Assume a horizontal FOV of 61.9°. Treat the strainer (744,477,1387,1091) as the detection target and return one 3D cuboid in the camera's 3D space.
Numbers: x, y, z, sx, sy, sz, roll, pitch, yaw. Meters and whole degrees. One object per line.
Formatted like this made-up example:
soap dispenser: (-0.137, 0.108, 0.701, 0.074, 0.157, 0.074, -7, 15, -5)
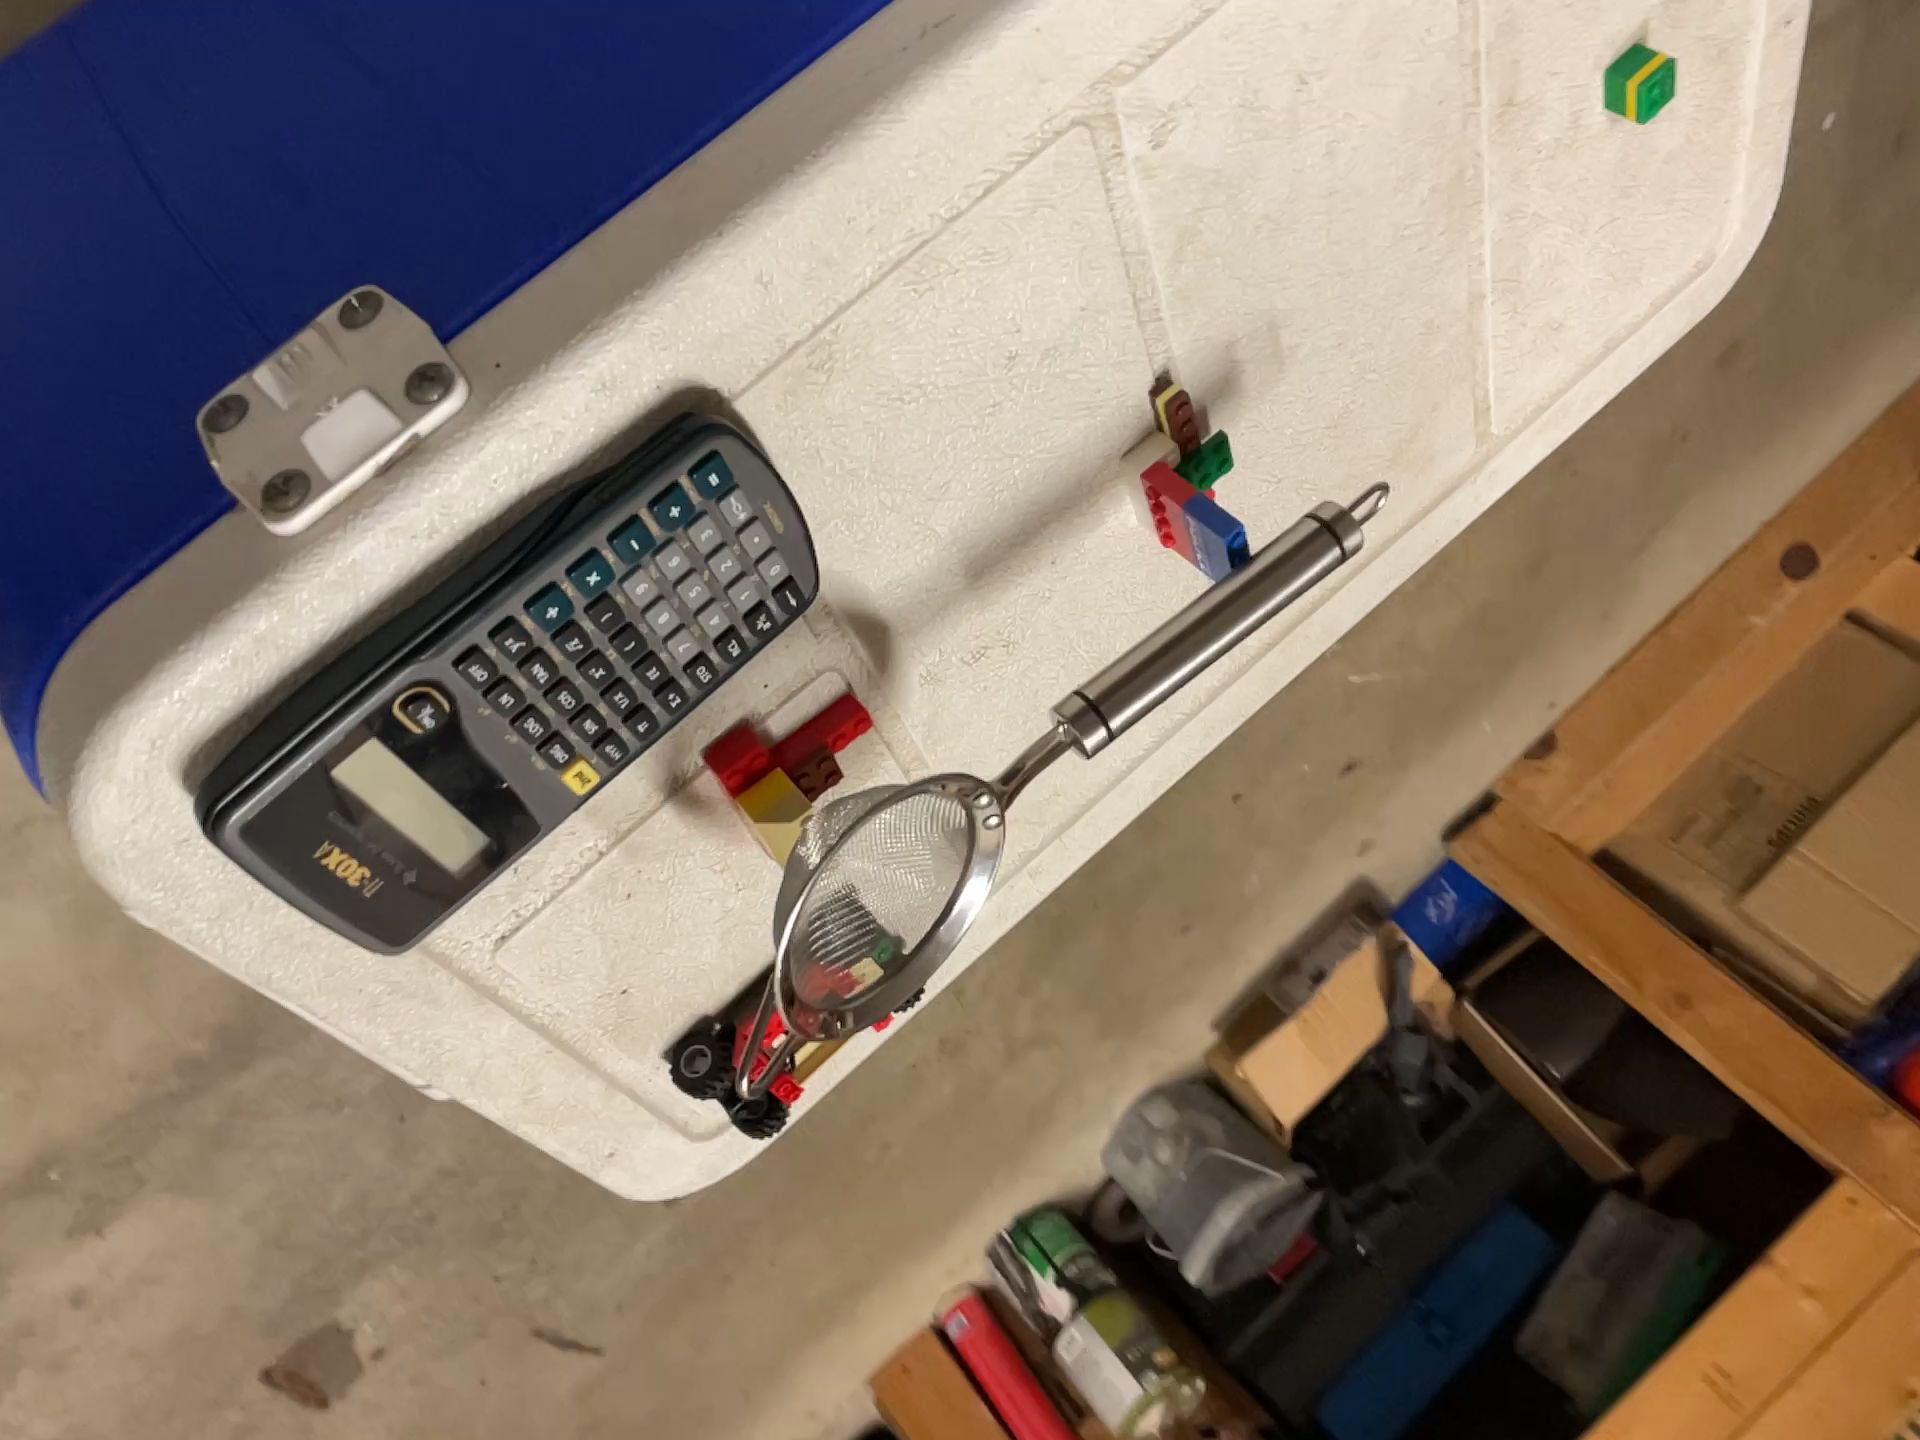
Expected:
strainer: (0.029, 0.006, 0.463, 0.258, 0.050, 0.086, -38, 146, -12)
